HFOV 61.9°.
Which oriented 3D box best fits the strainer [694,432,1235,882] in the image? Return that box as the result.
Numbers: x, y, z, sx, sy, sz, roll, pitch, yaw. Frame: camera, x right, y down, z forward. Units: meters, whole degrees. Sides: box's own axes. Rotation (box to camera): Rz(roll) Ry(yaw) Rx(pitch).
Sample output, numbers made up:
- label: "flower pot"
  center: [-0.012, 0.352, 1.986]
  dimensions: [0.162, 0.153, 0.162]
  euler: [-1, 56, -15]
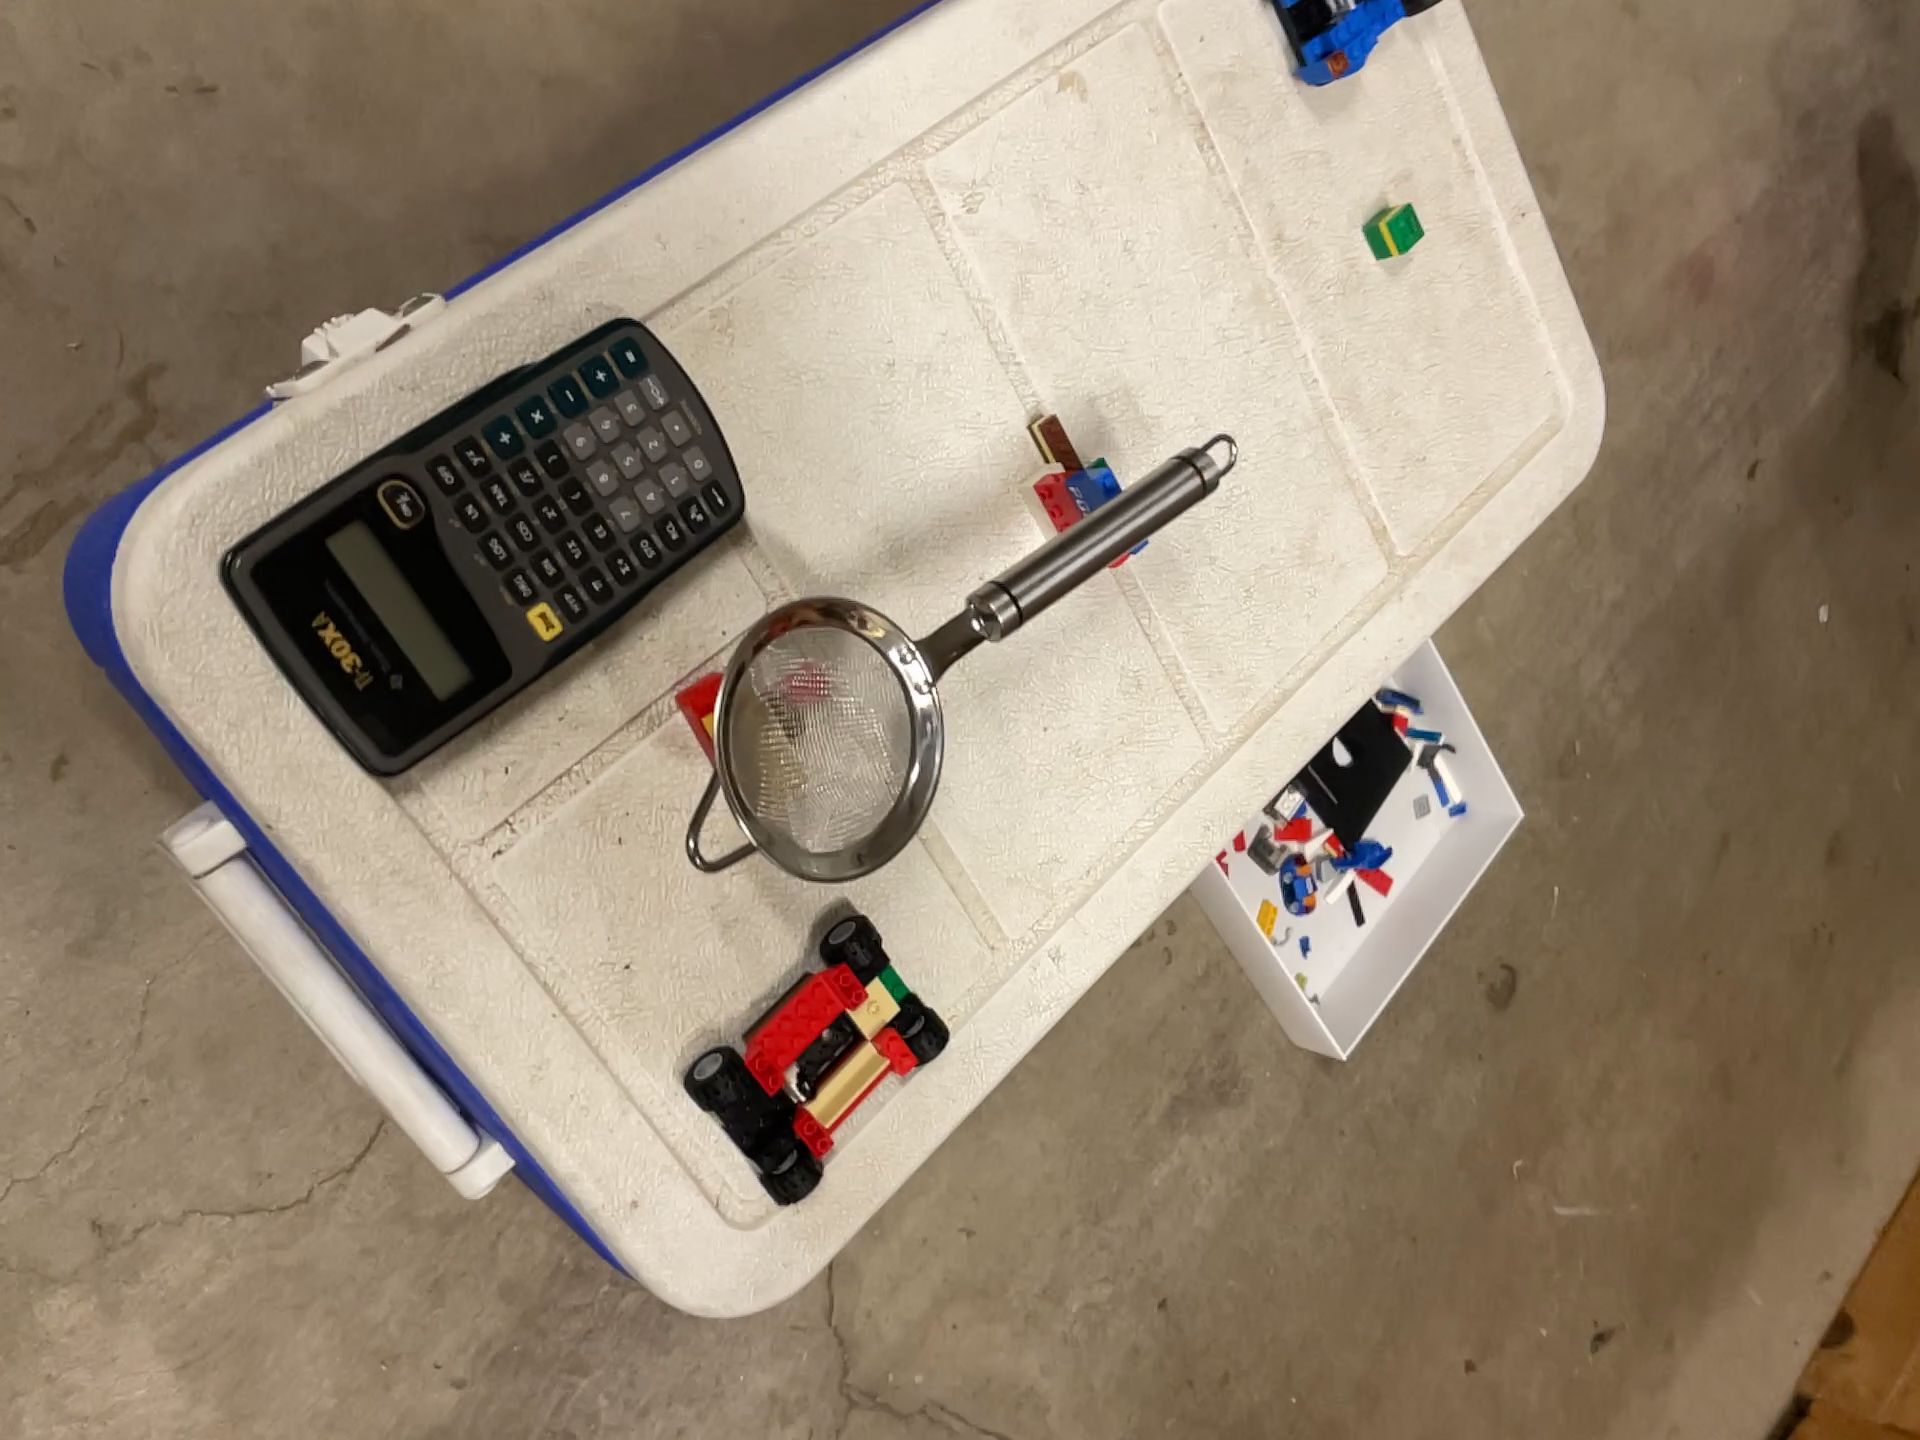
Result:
- label: "strainer"
  center: [0.006, -0.031, 0.527]
  dimensions: [0.259, 0.050, 0.086]
  euler: [-37, 114, -27]
